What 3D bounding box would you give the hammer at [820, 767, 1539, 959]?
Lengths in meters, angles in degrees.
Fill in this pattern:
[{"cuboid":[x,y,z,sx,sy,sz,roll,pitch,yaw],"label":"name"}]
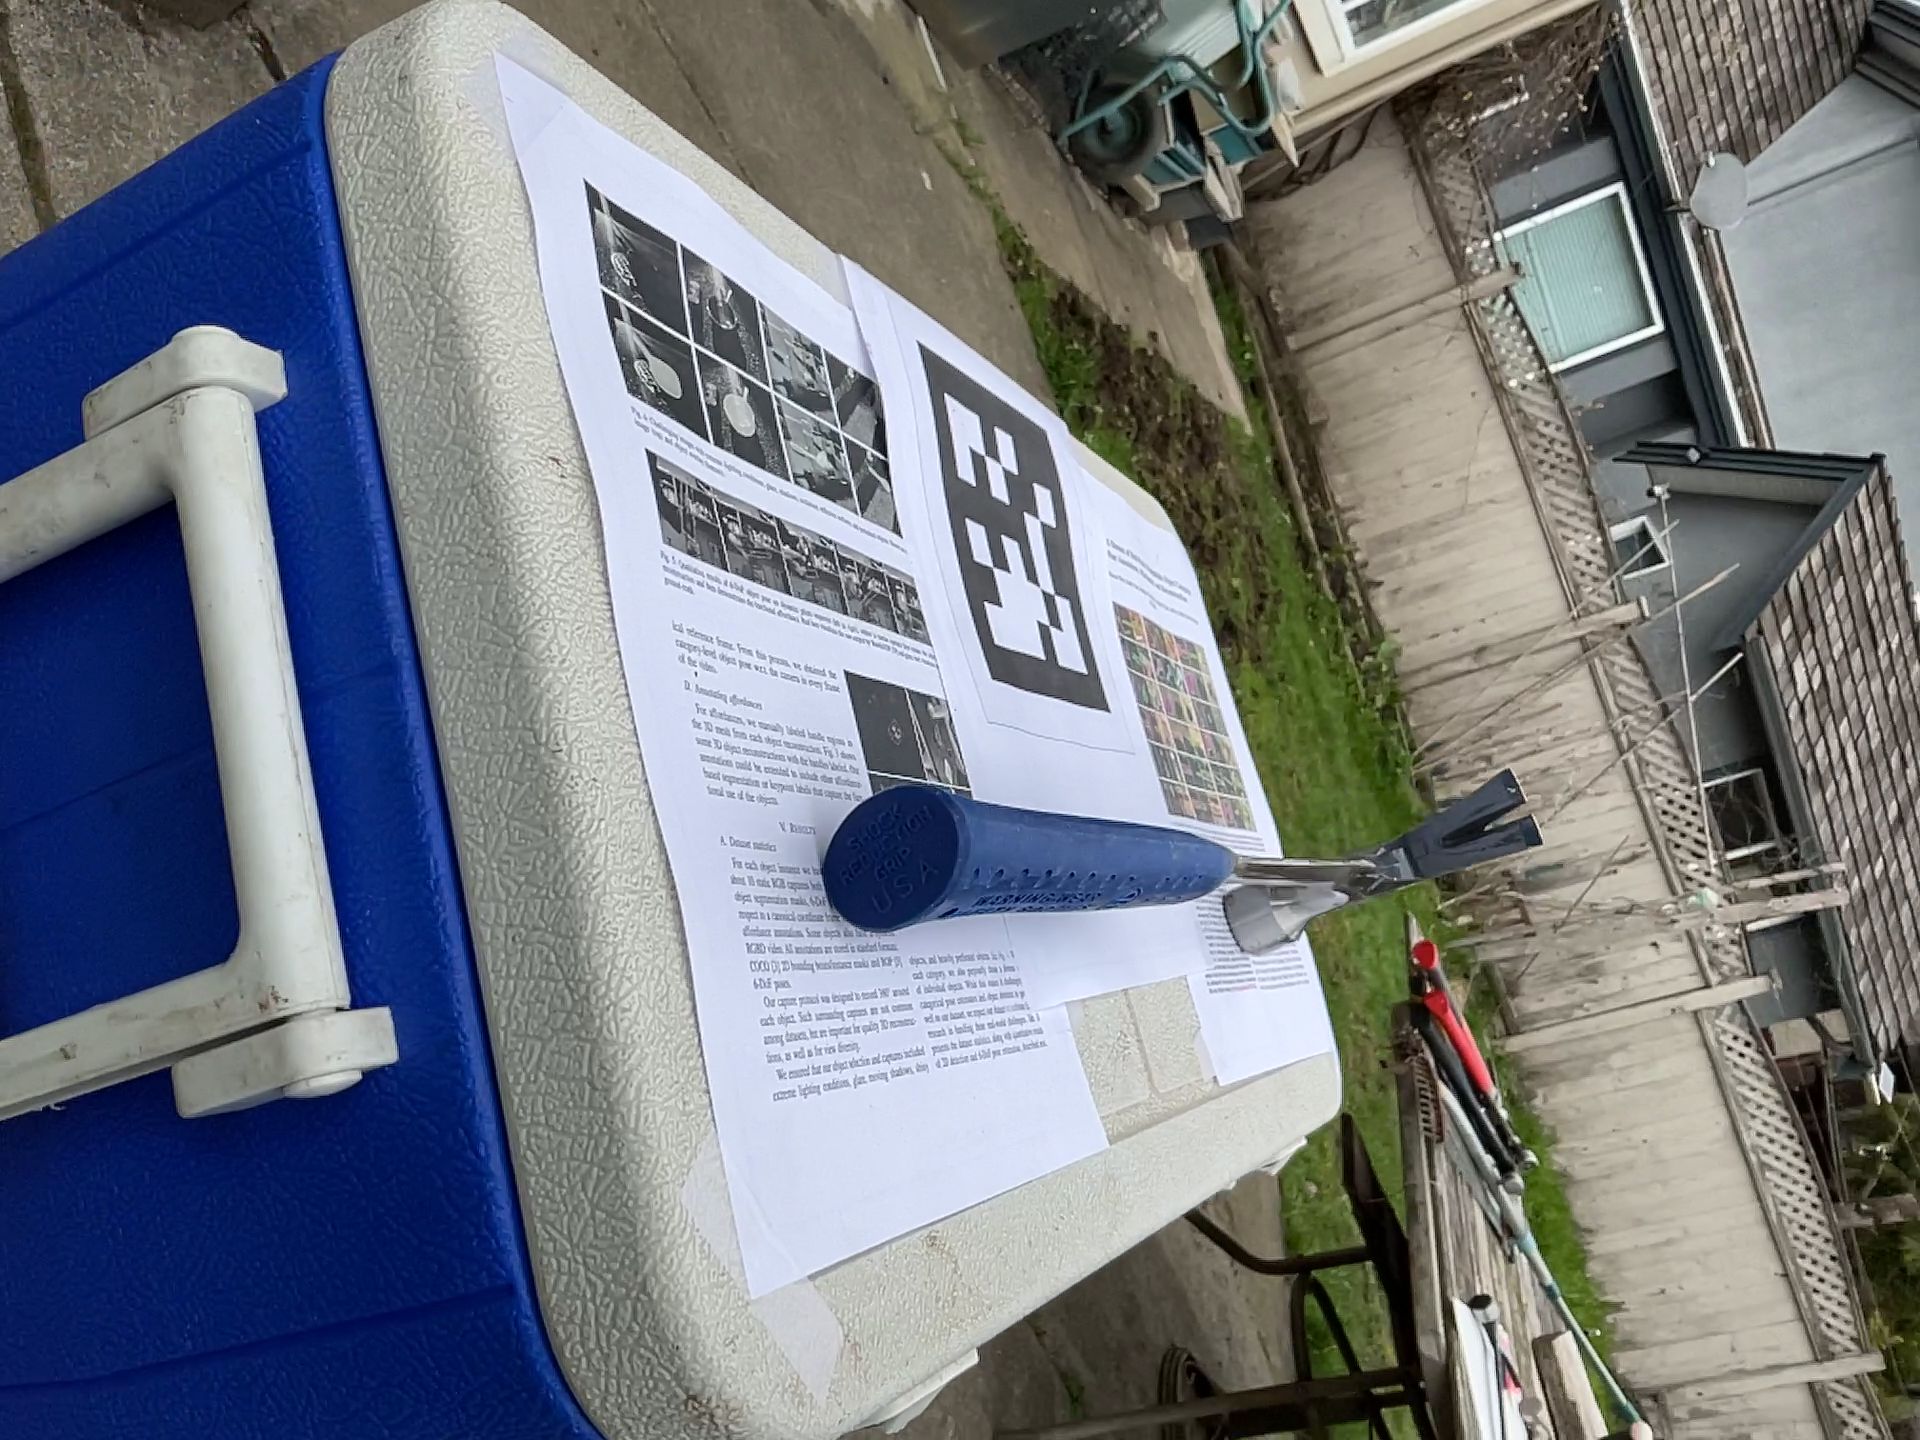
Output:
[{"cuboid":[0.091,0.049,0.553,0.405,0.144,0.035,10,56,-59],"label":"hammer"}]
